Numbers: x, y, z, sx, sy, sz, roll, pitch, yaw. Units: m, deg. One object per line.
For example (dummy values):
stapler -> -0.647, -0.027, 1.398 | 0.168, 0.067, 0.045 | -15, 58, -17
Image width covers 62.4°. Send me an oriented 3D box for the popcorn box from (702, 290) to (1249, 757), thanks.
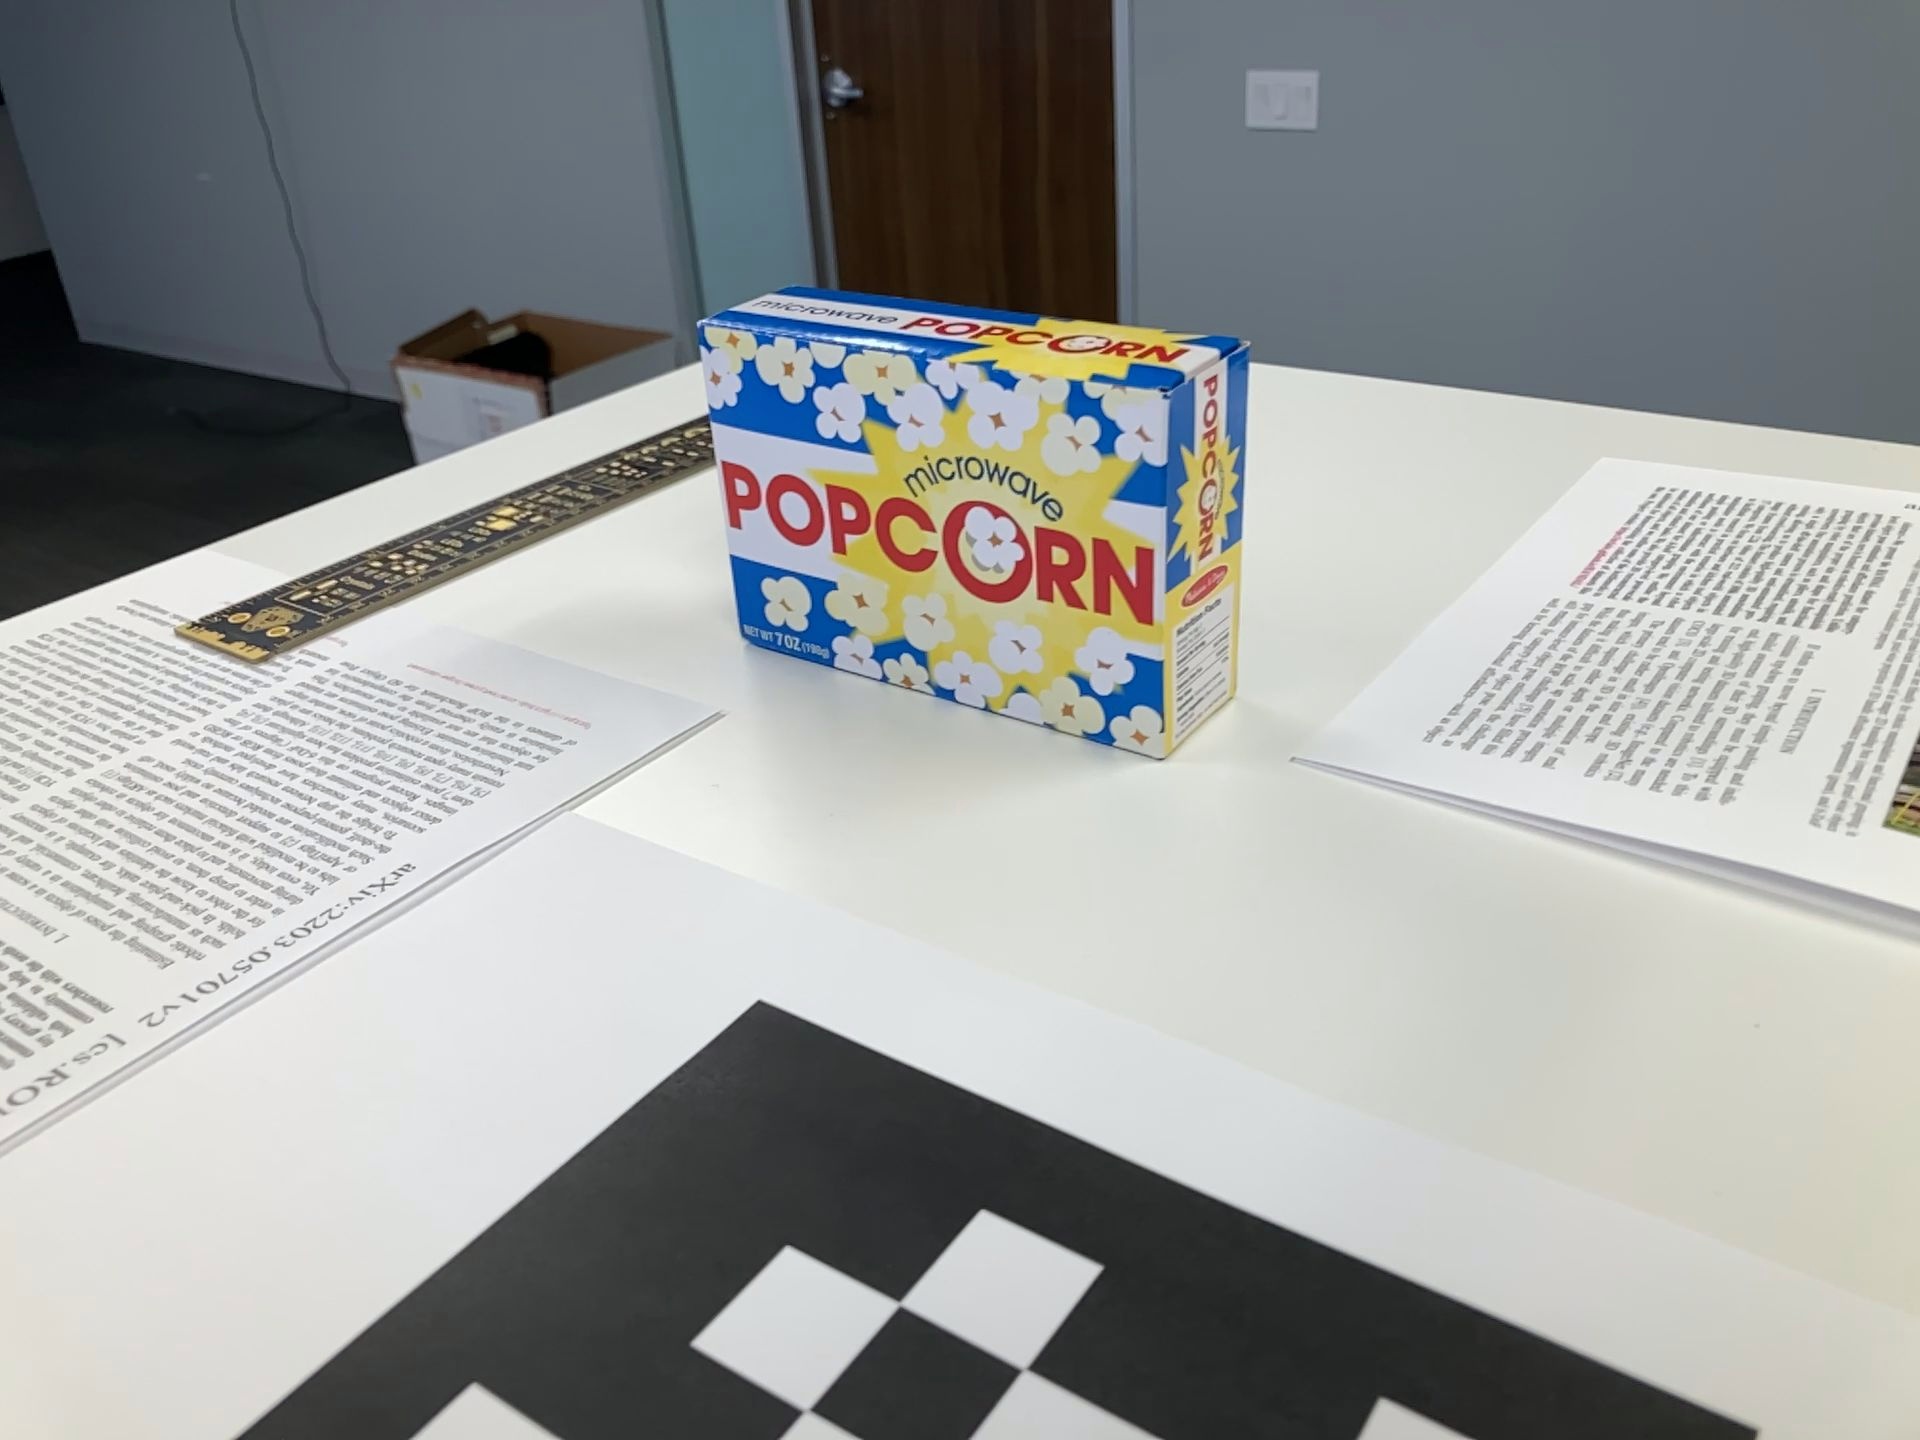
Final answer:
popcorn box -> 0.001, -0.050, 0.372 | 0.126, 0.085, 0.038 | 16, 34, 32
